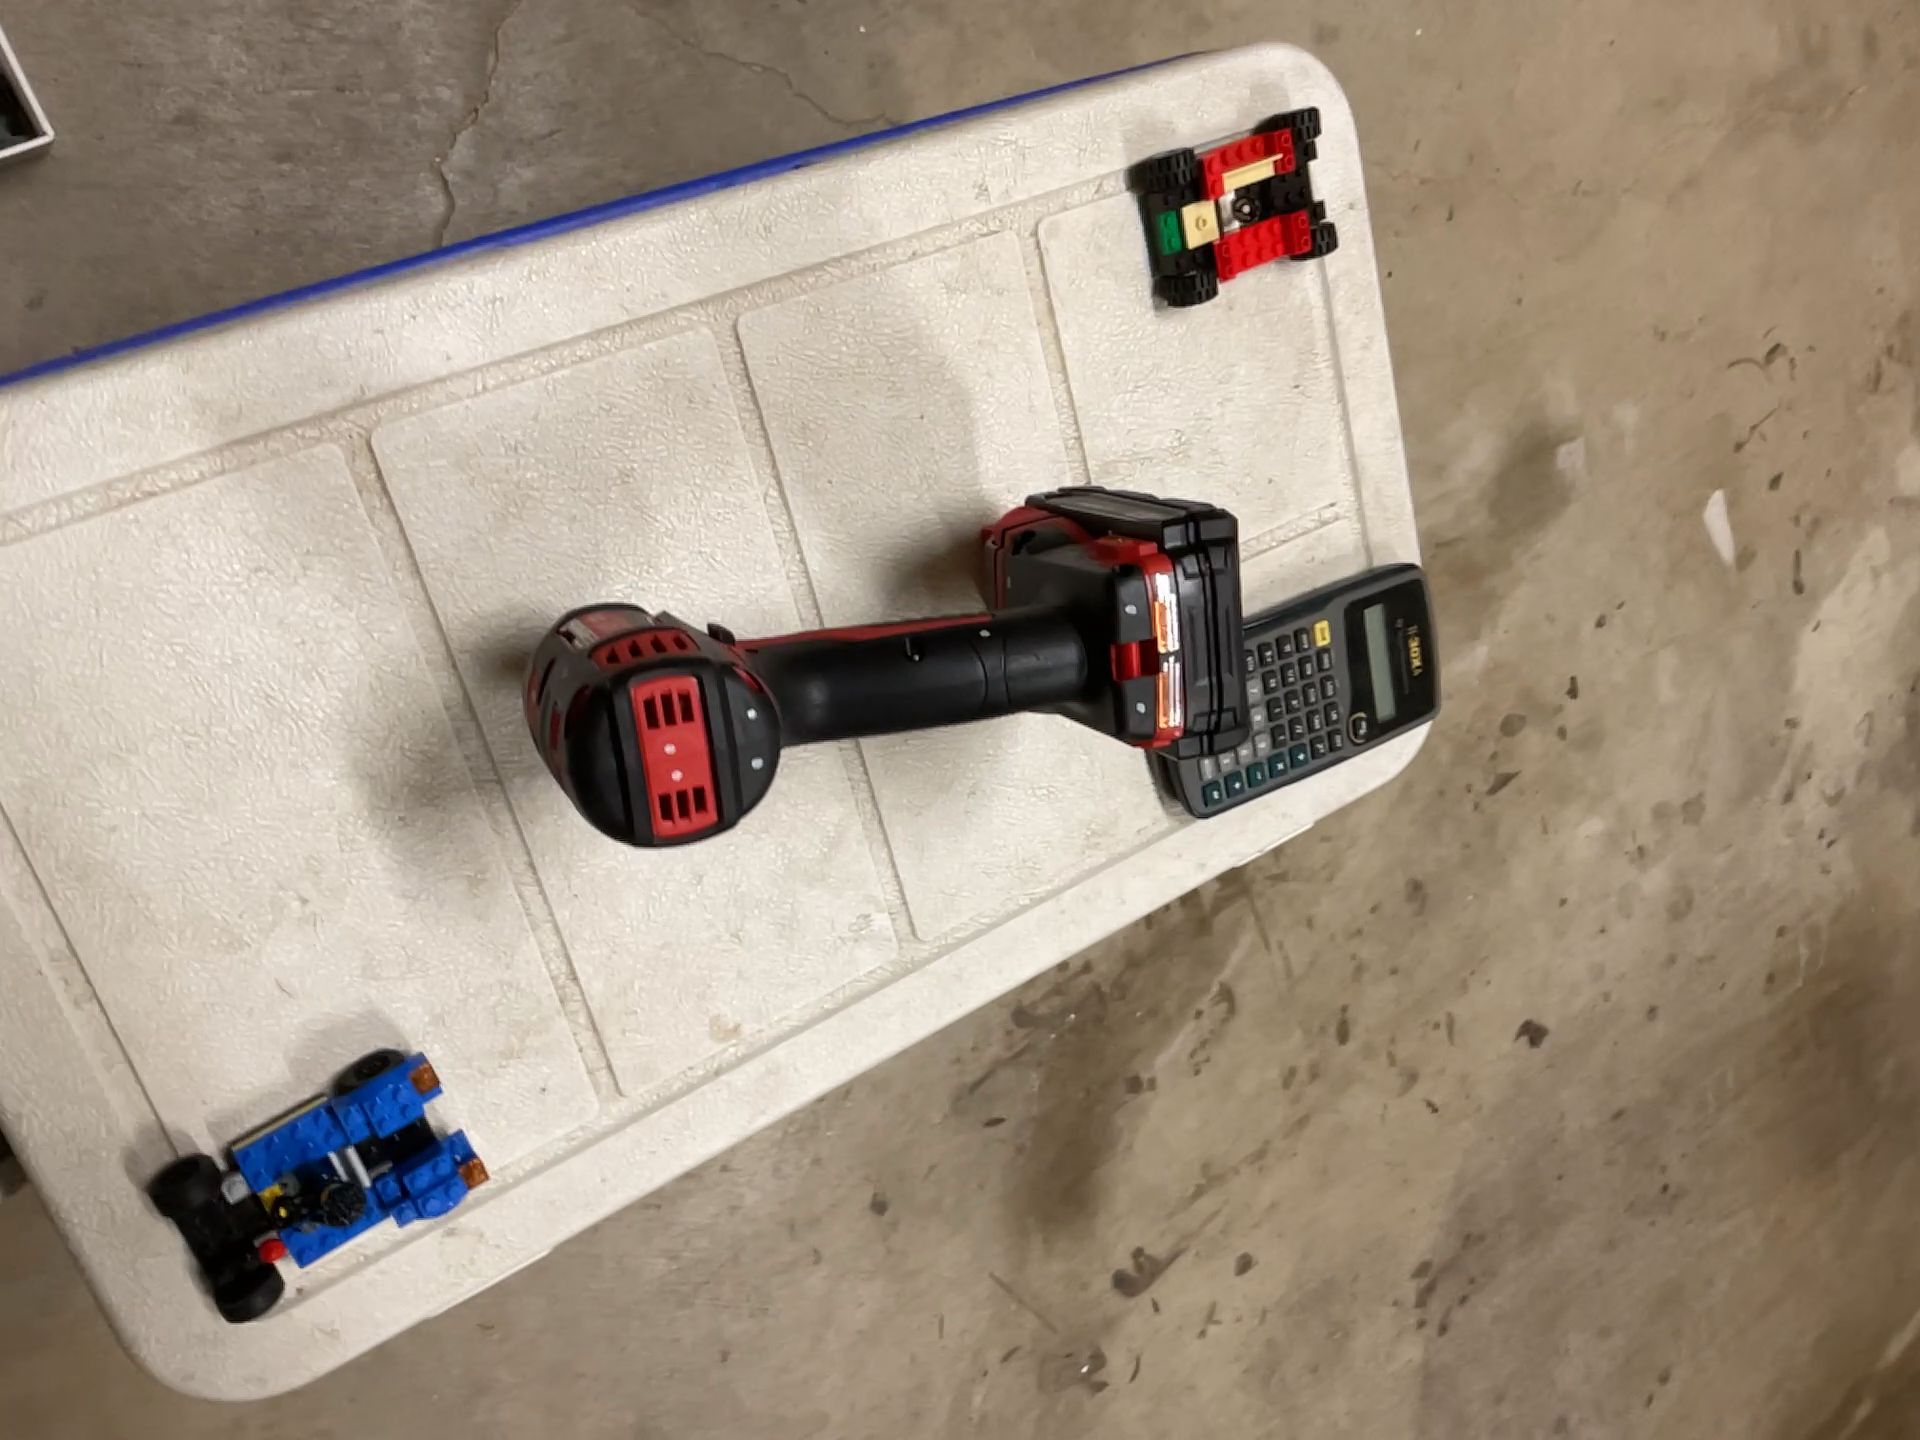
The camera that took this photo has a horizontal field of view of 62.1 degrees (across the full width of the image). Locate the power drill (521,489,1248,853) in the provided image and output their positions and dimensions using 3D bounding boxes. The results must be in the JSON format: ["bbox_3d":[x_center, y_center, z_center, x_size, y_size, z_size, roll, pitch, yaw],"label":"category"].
[{"bbox_3d":[-0.030,-0.019,0.517,0.220,0.143,0.078,-12,106,-21],"label":"power drill"}]
